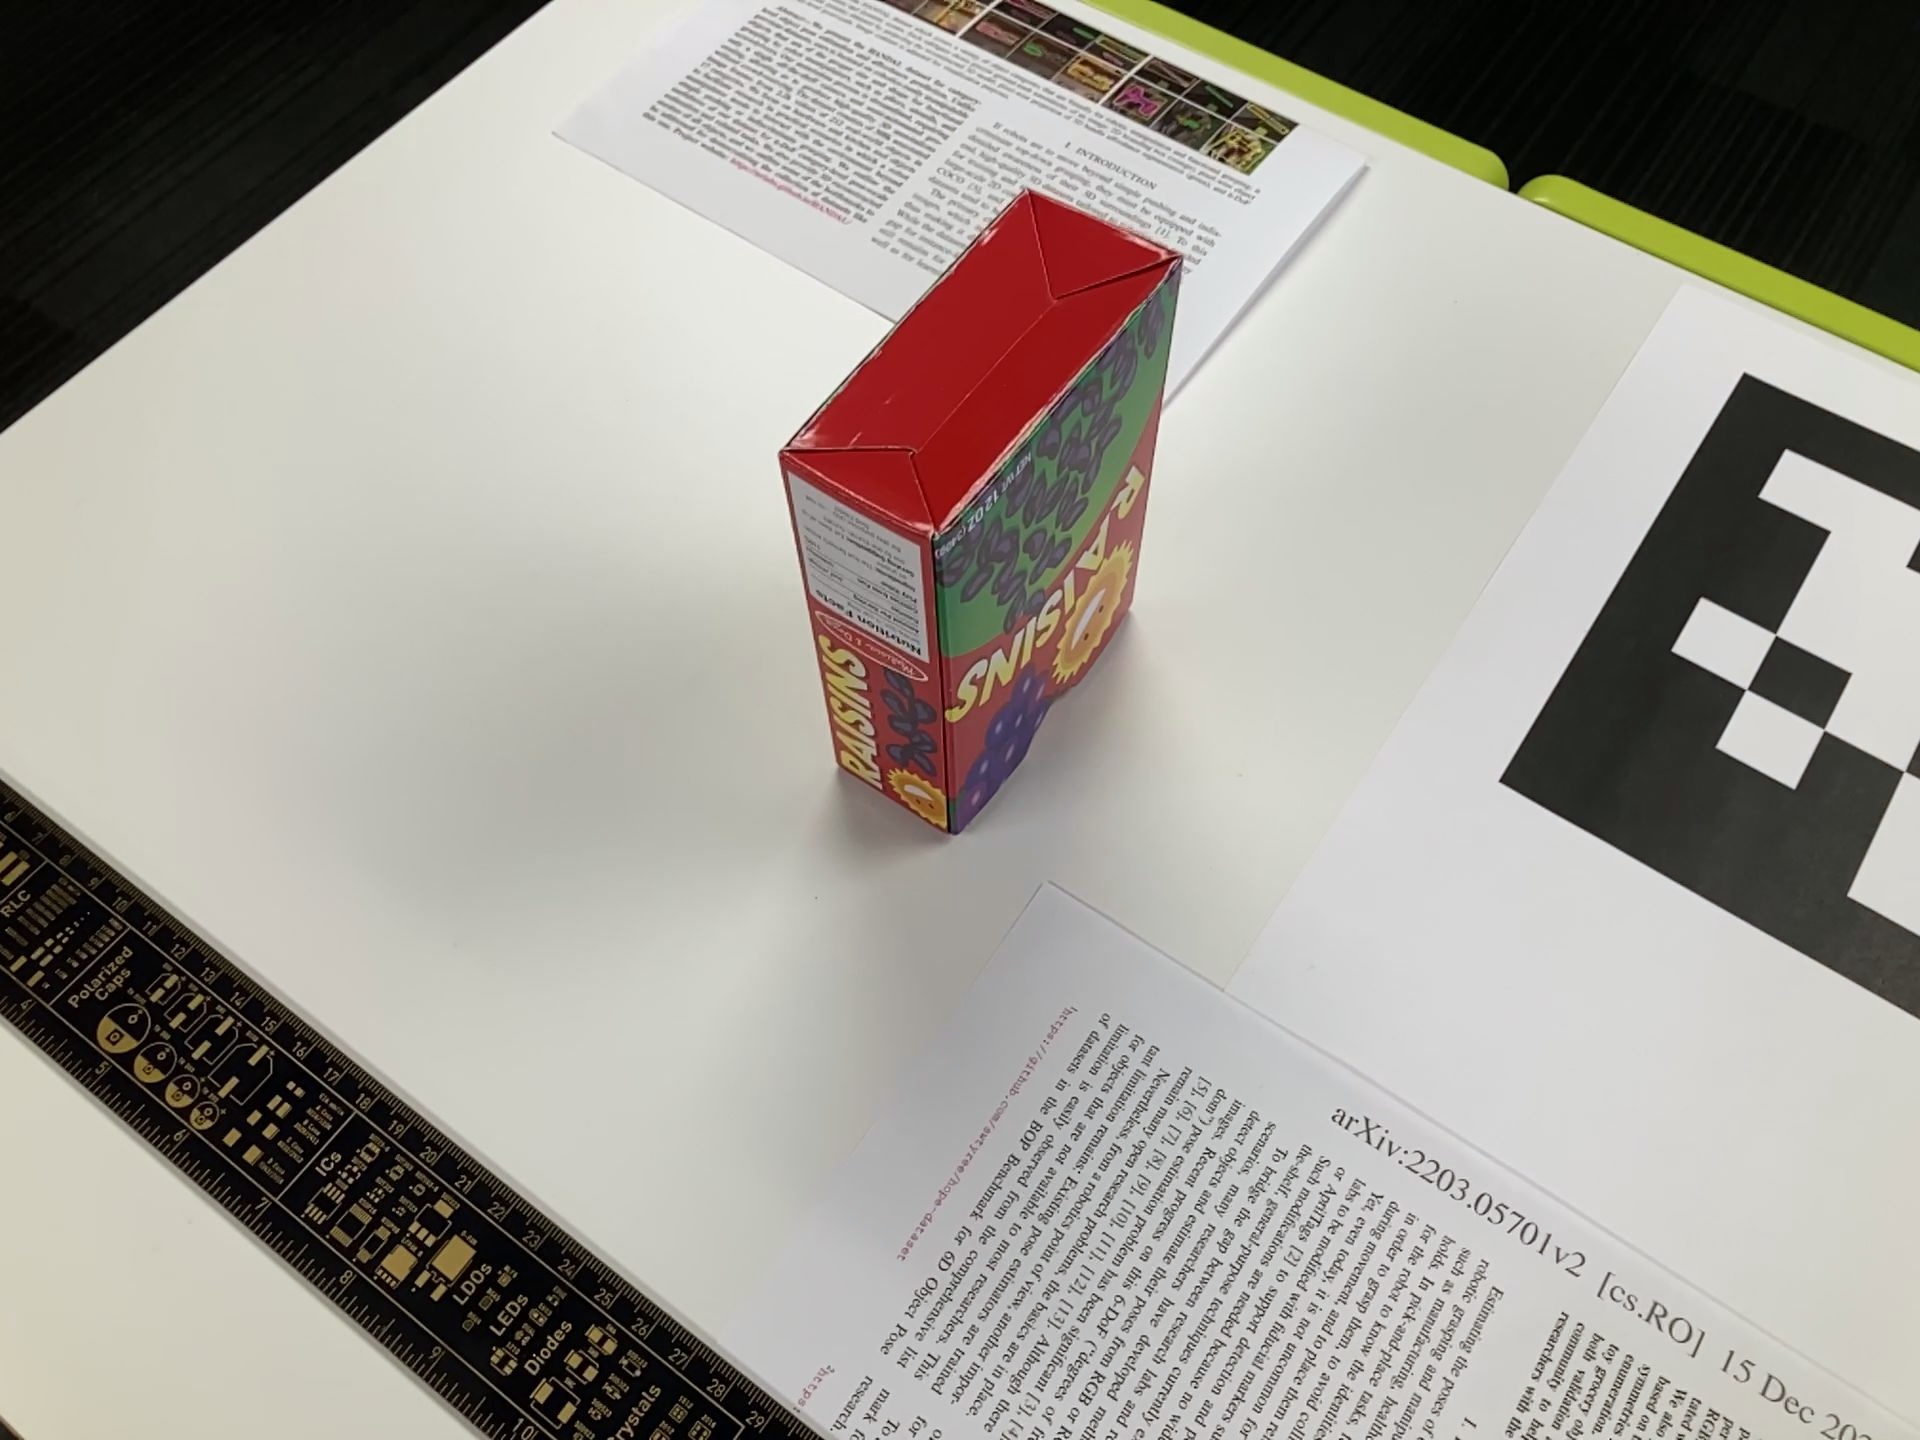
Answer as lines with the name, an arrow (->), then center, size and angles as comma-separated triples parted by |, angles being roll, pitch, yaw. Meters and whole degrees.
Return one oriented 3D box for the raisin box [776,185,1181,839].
raisin box -> 0.007, -0.039, 0.351 | 0.040, 0.123, 0.086 | 30, 65, 17
